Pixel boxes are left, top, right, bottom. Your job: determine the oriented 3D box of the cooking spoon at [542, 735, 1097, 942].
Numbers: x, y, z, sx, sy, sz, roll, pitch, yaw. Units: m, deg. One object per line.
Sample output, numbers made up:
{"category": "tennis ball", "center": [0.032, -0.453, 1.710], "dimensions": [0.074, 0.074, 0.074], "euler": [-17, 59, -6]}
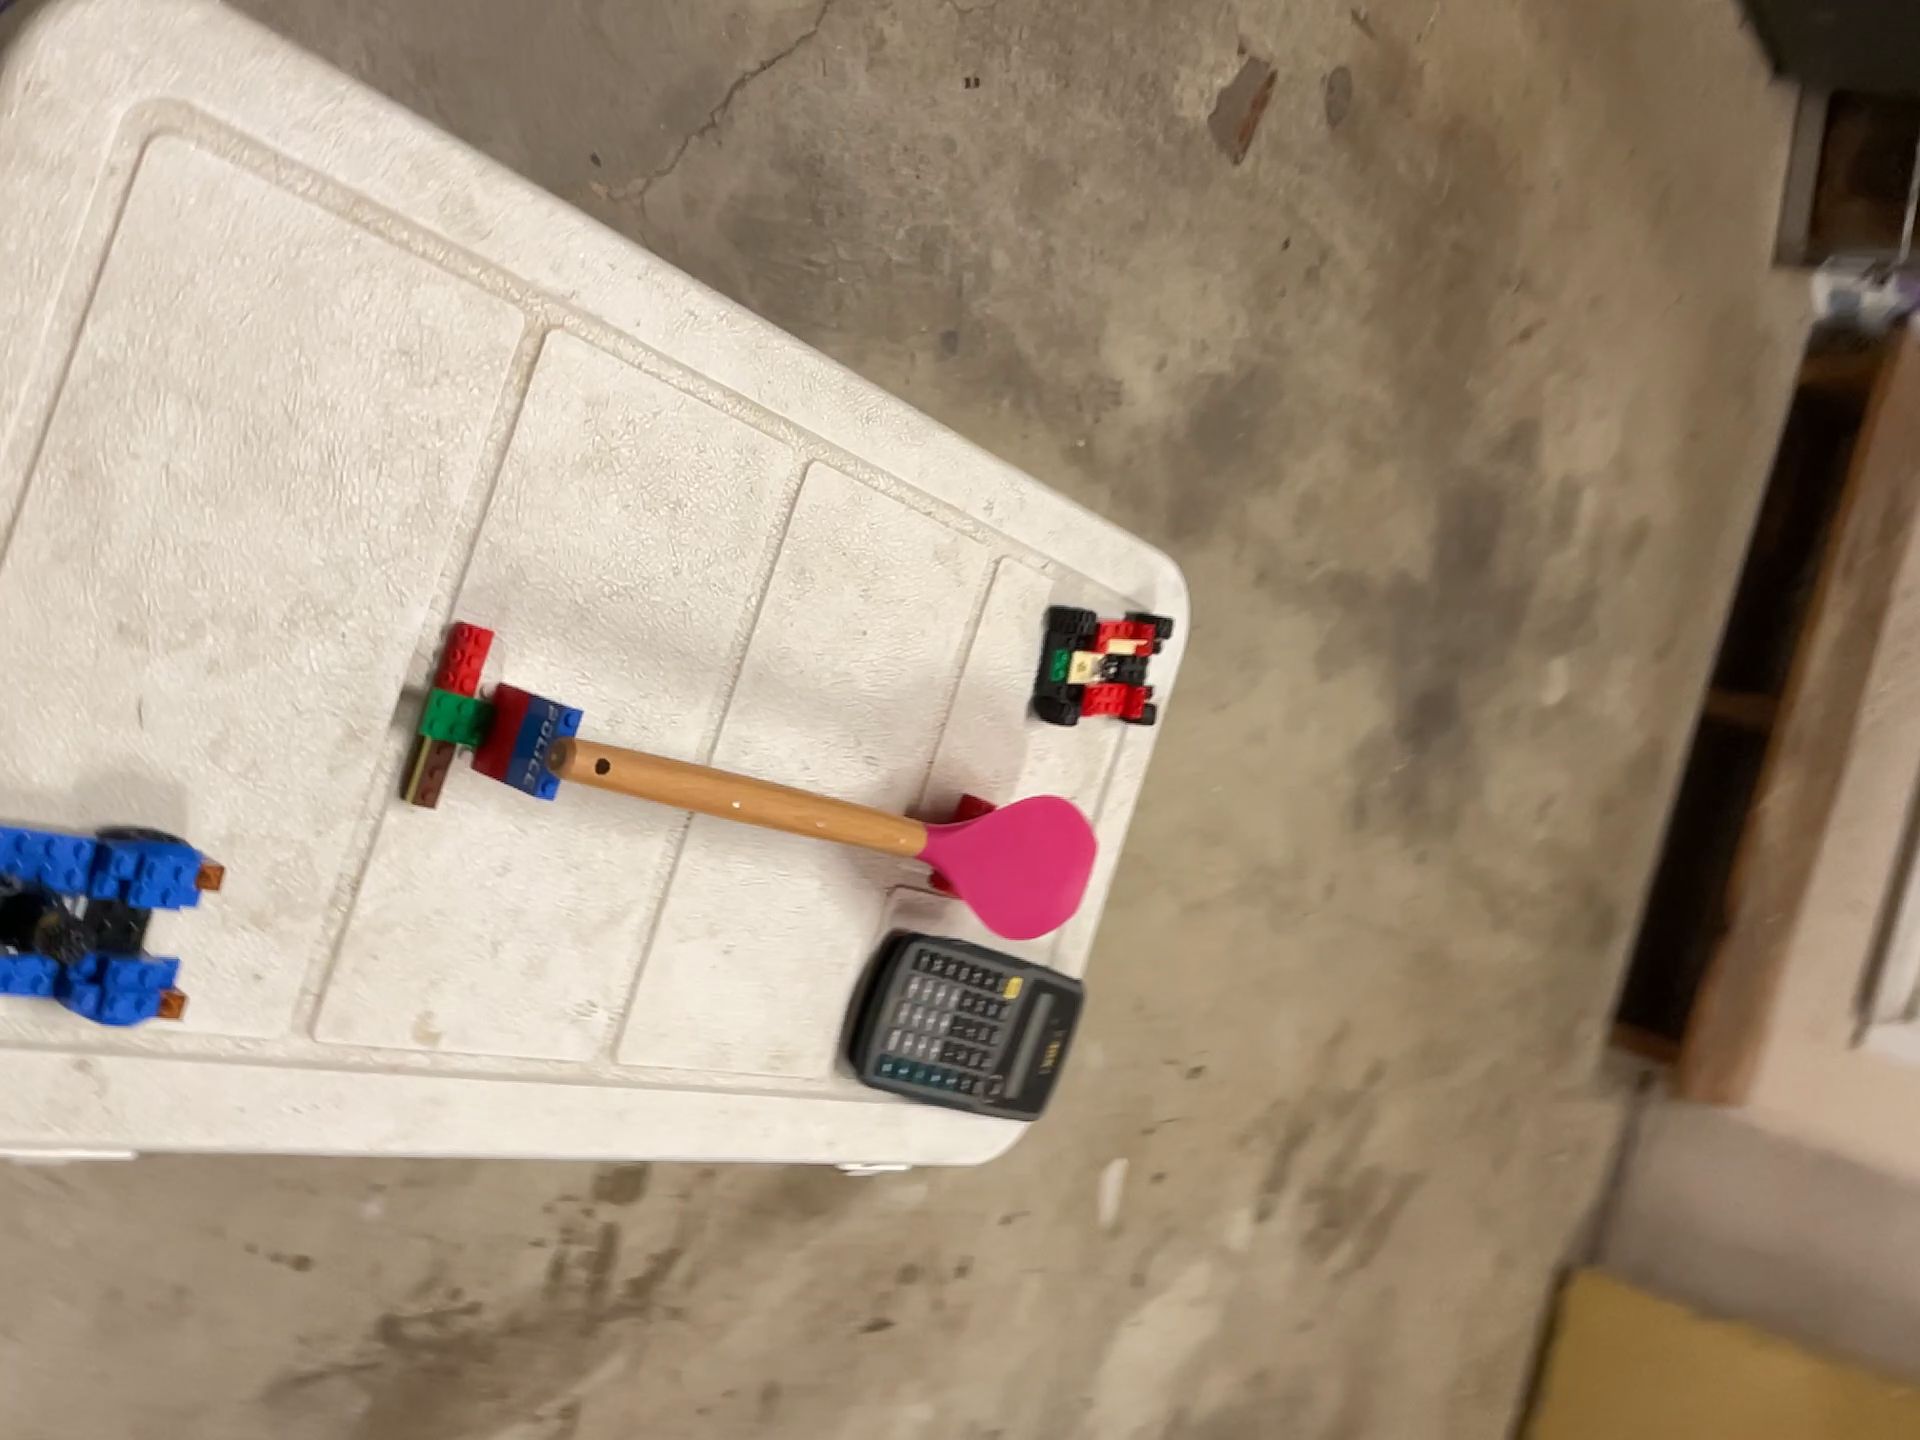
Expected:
{"category": "cooking spoon", "center": [-0.036, 0.043, 0.639], "dimensions": [0.319, 0.017, 0.069], "euler": [19, 88, -51]}
